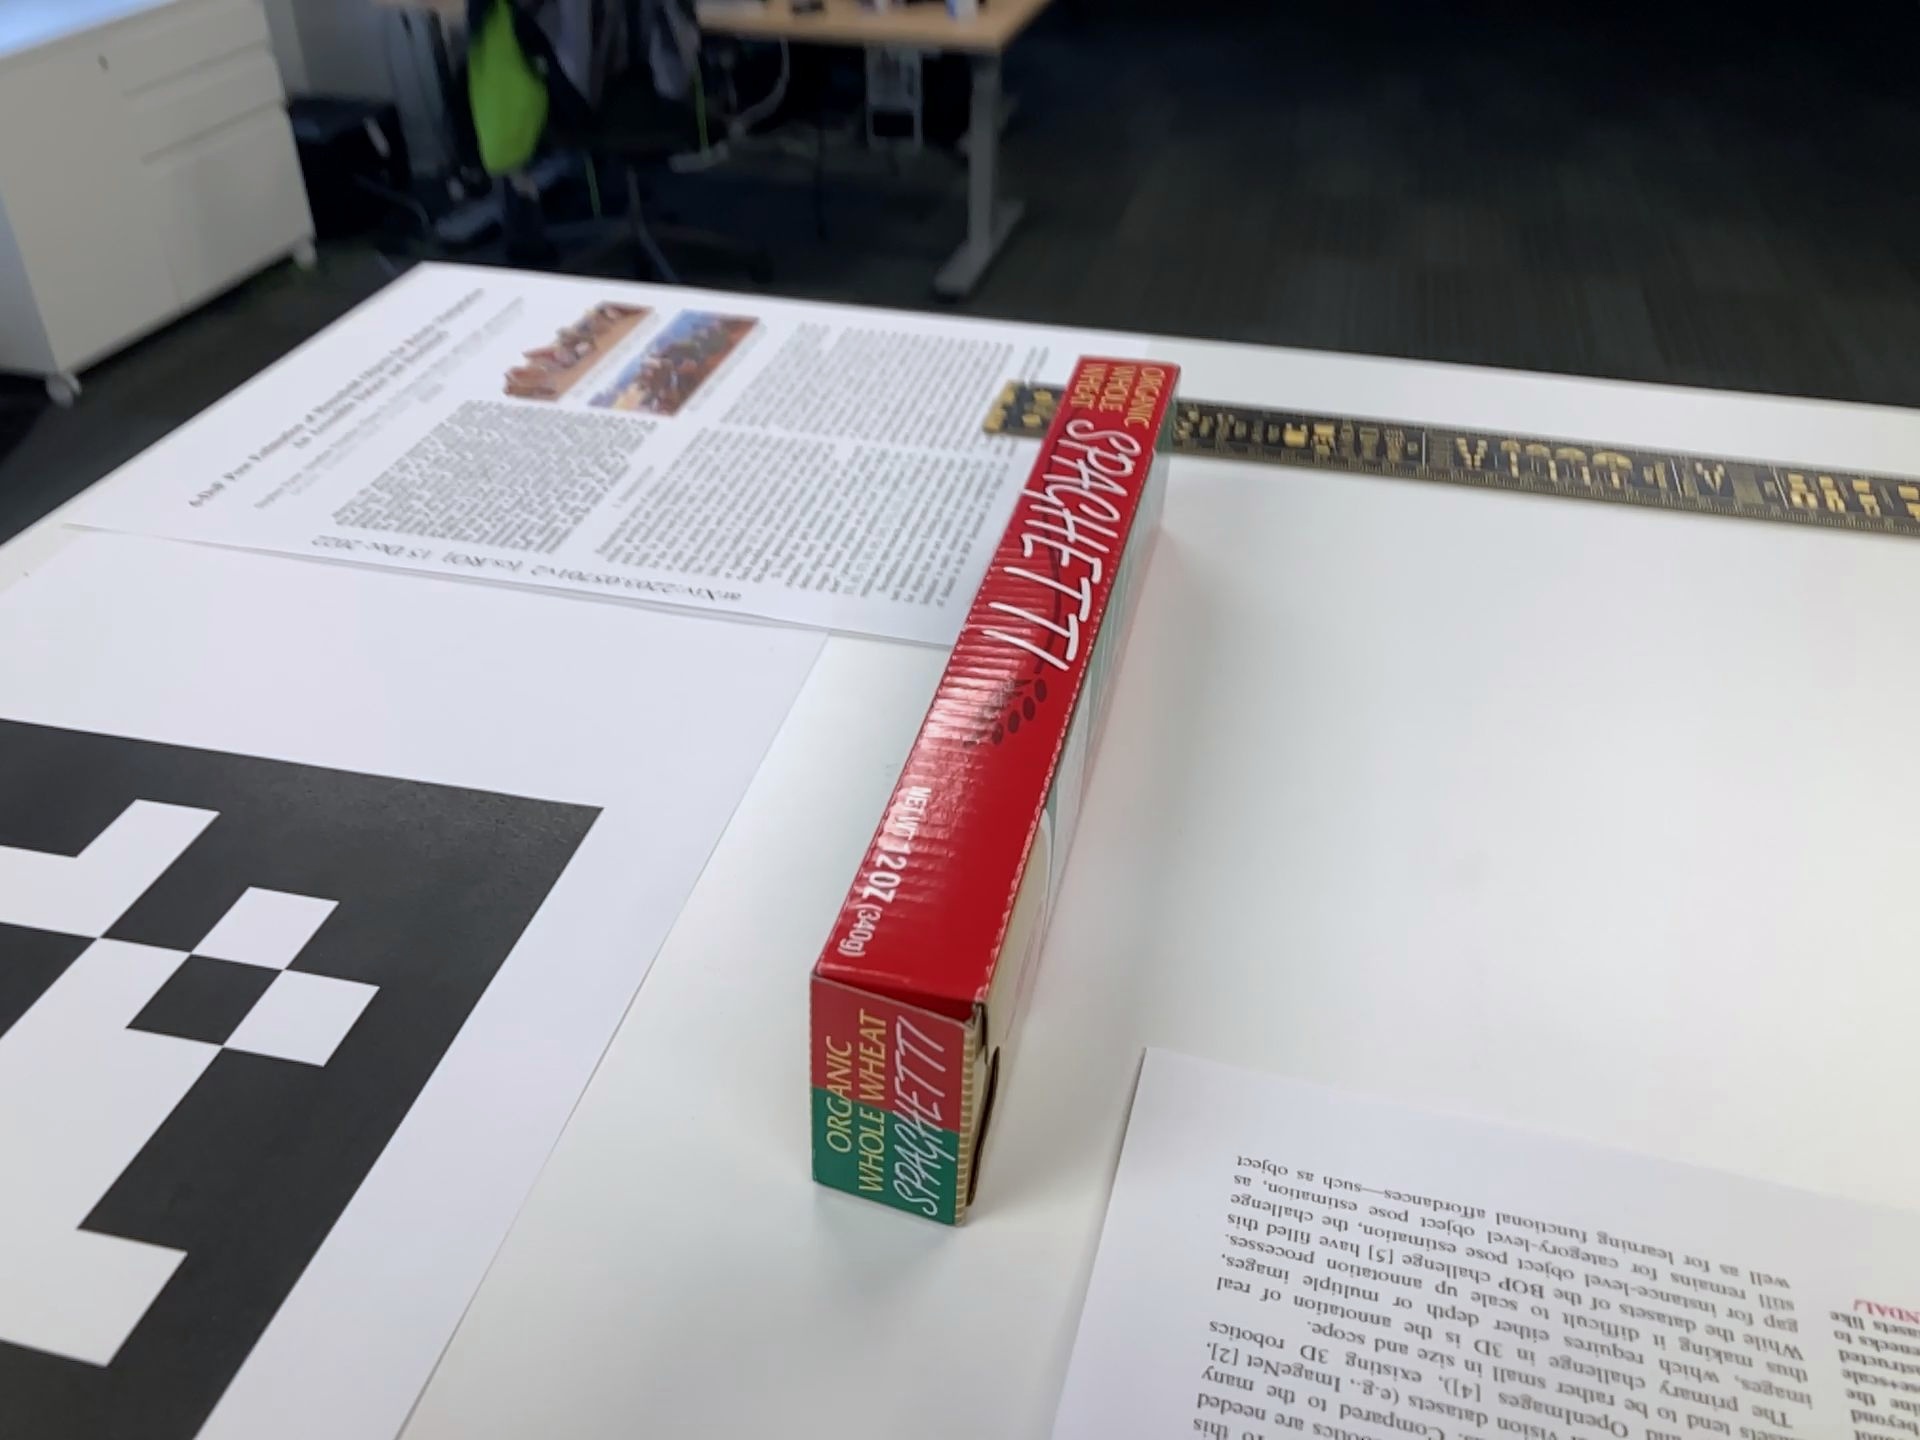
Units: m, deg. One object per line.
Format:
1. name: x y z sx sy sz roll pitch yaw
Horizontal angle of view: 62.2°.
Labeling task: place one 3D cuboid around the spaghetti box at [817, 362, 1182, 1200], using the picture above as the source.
1. spaghetti box: 0.018 -0.010 0.351 0.028 0.050 0.250 10 36 9
